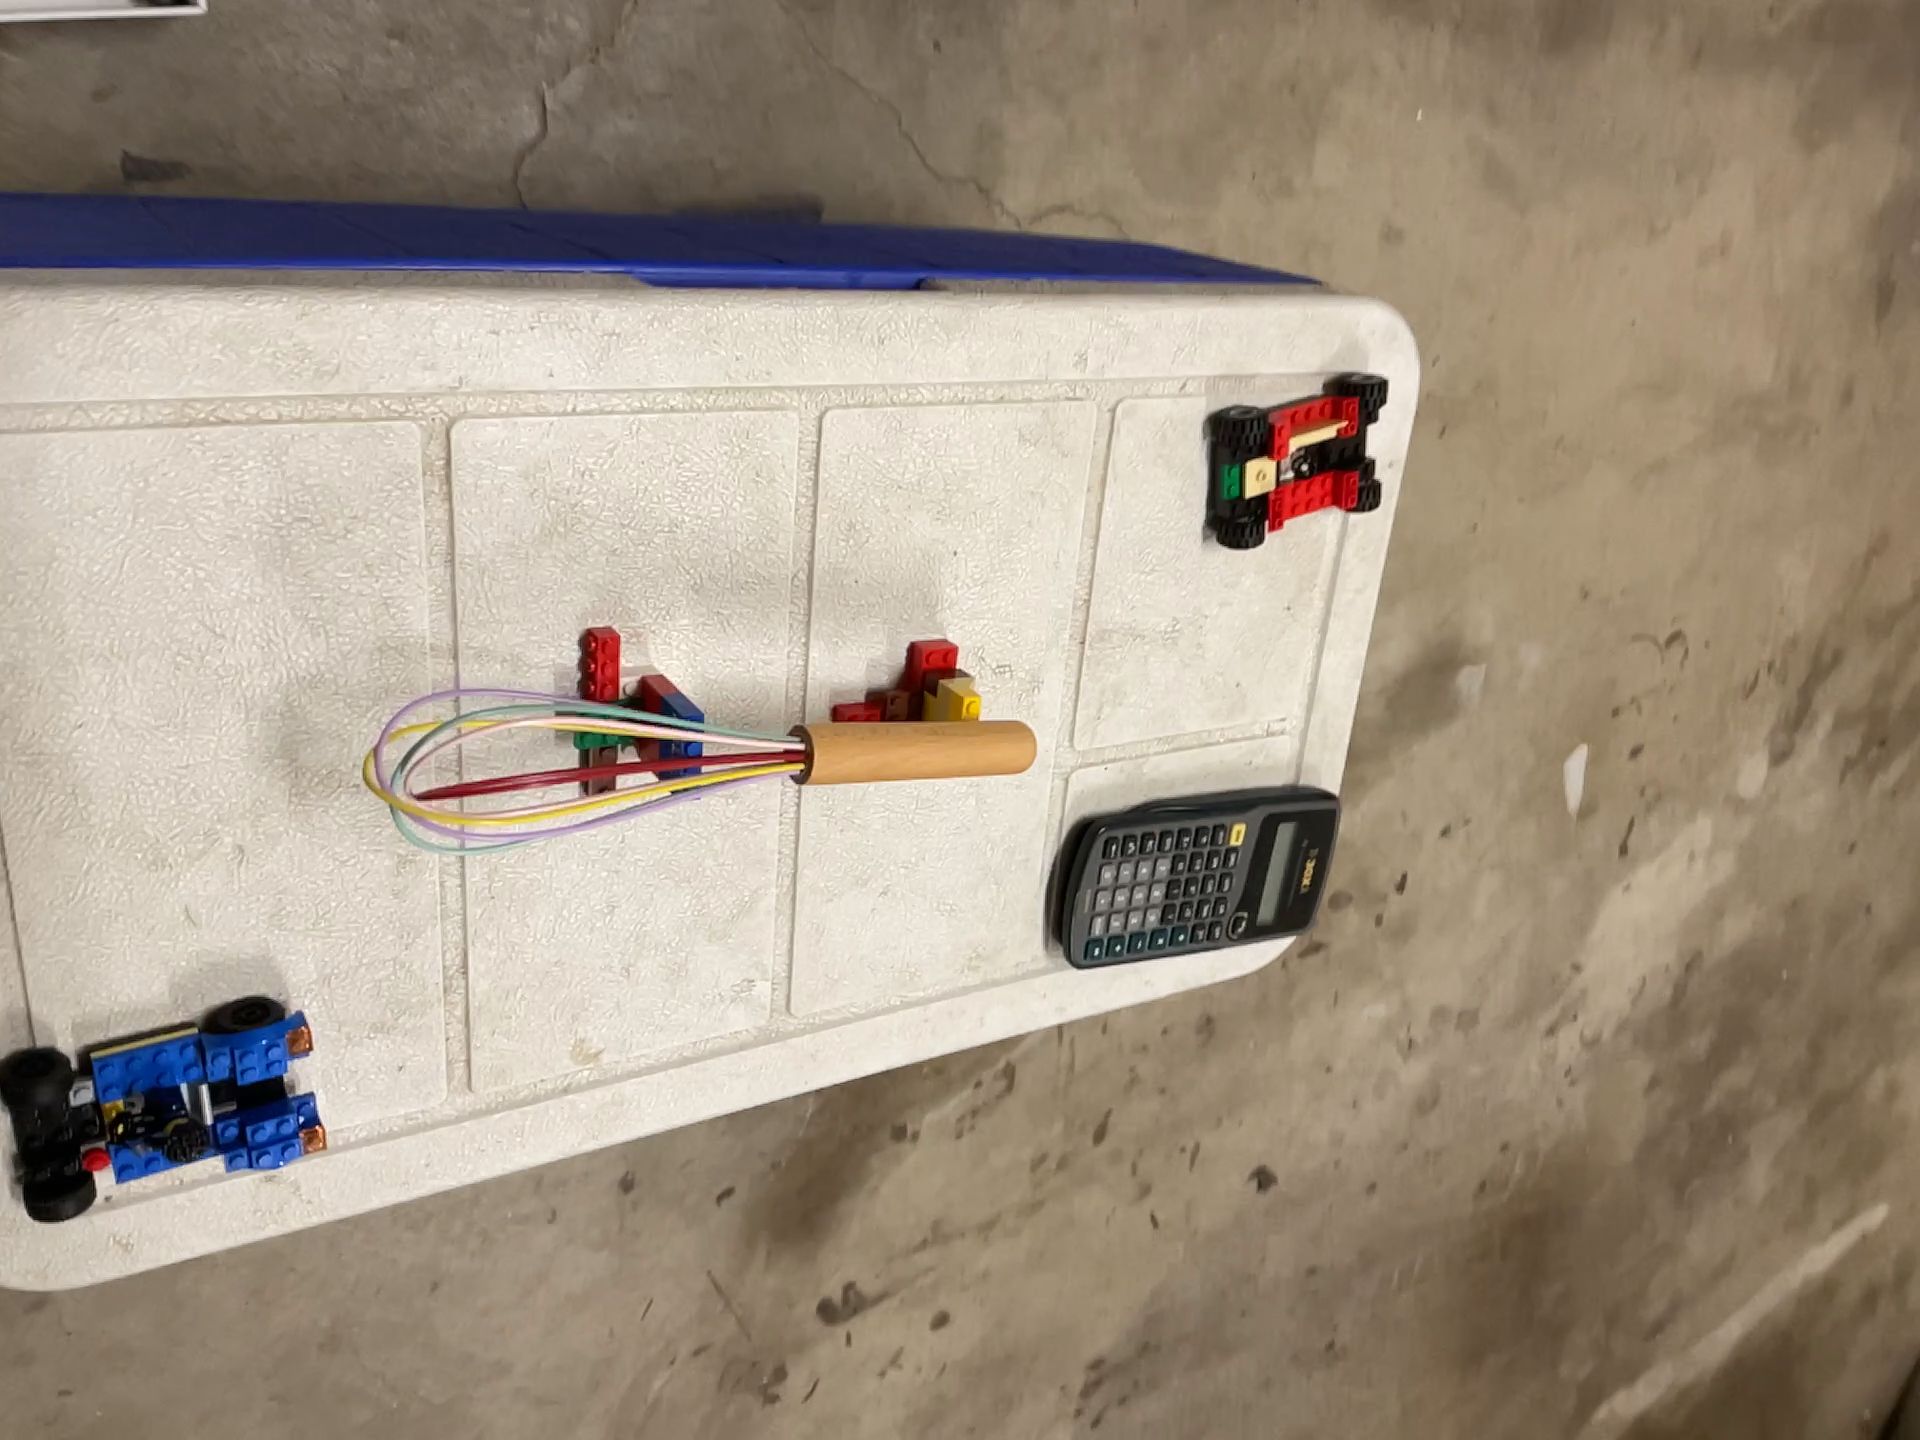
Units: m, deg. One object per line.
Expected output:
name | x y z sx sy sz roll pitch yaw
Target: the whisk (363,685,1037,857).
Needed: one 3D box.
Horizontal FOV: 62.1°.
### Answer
whisk | -0.073 0.016 0.531 0.245 0.047 0.051 -1 100 -36
